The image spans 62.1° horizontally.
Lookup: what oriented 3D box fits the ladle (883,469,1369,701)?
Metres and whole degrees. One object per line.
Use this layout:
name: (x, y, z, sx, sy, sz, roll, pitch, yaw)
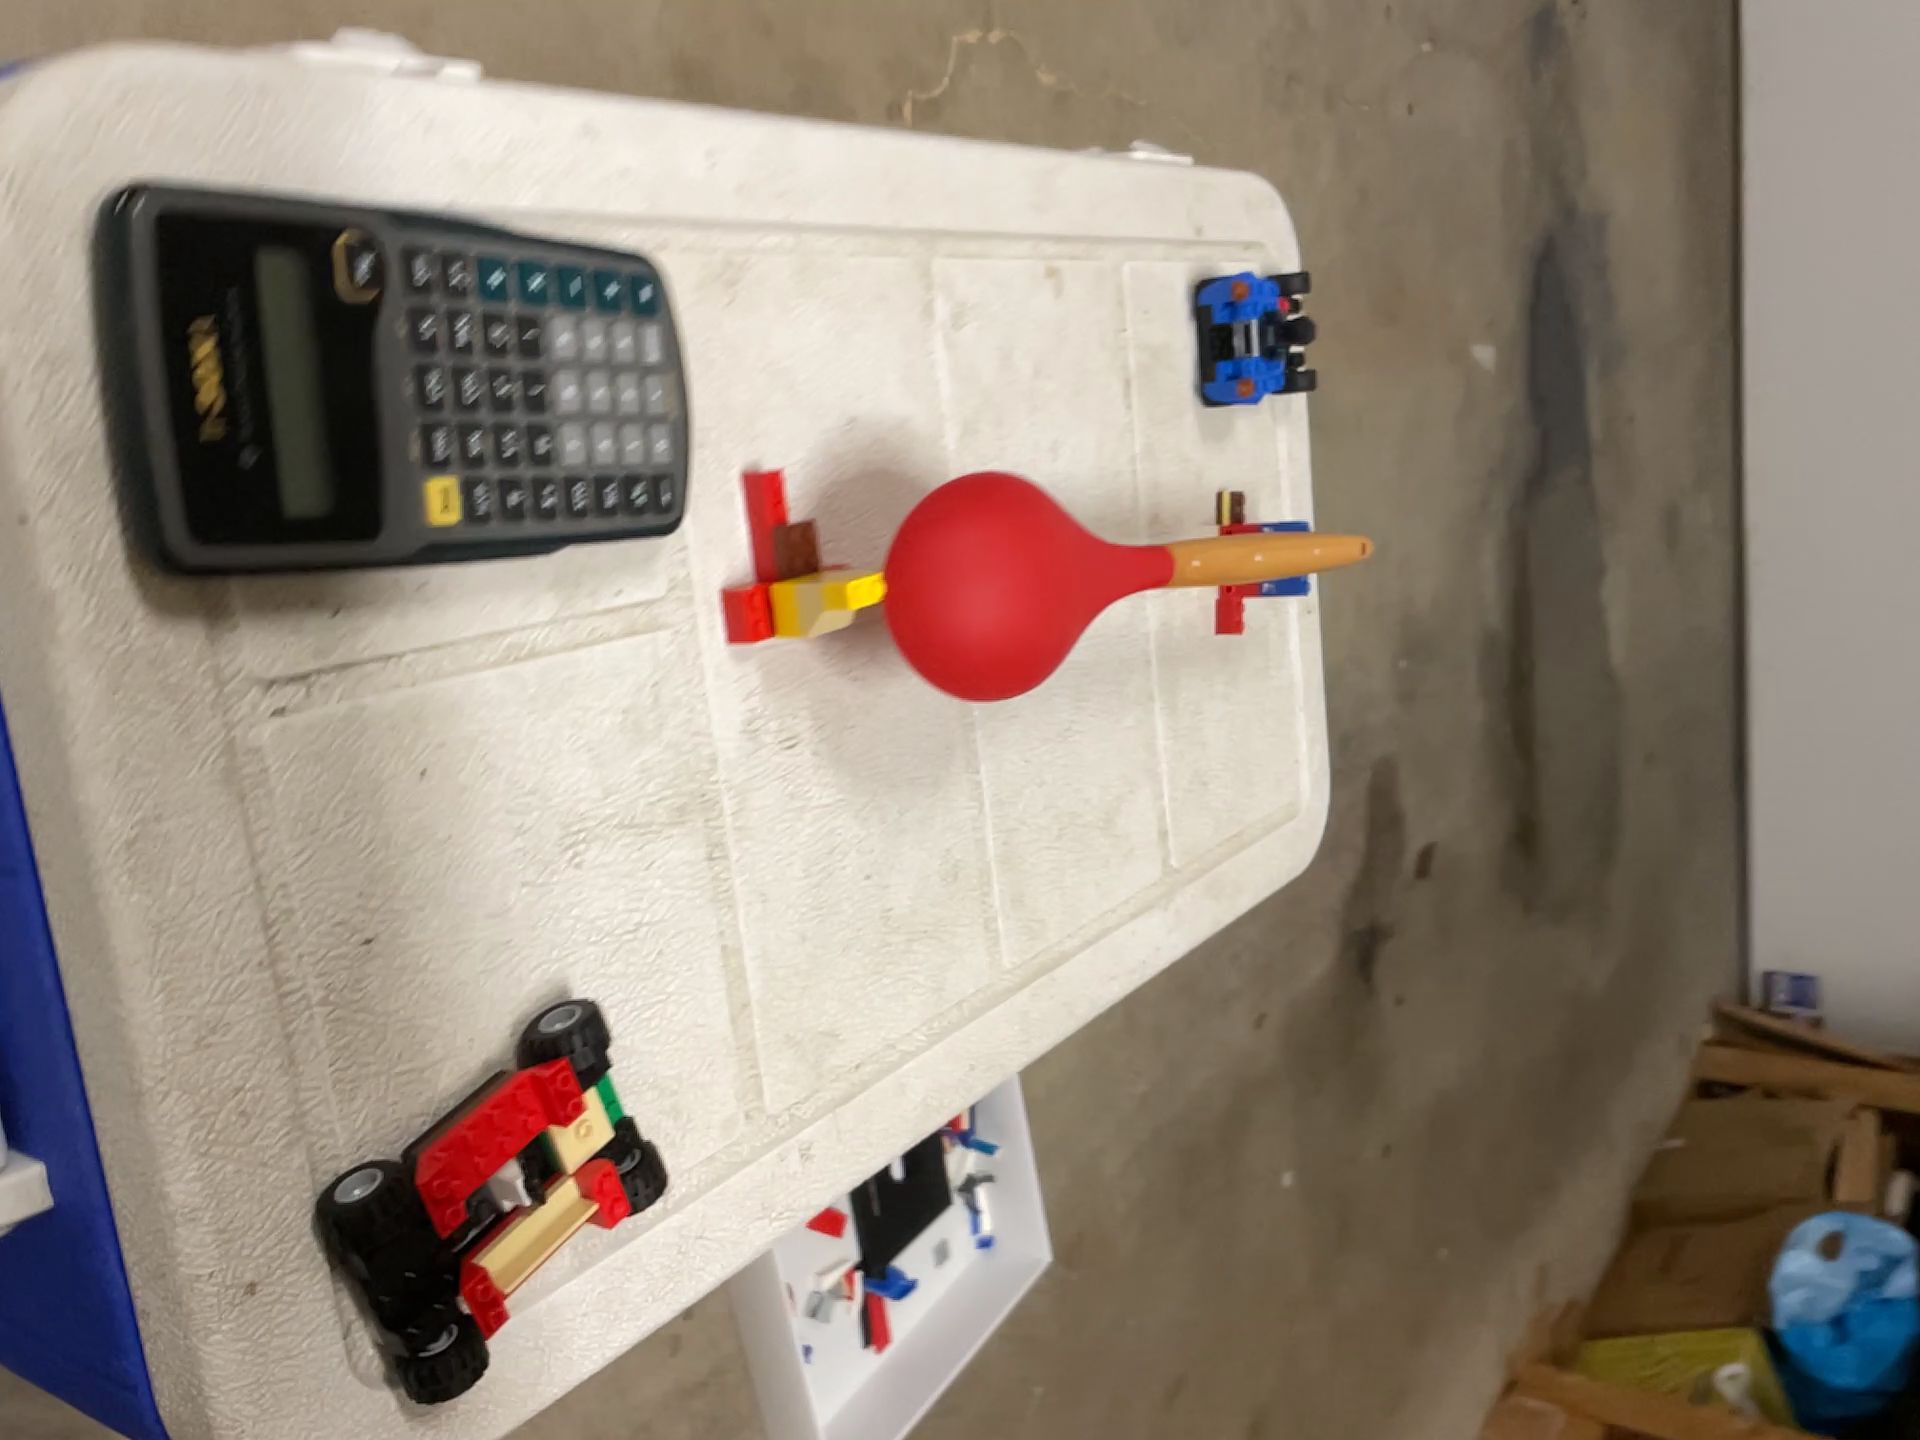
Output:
ladle: (0.082, -0.055, 0.573, 0.315, 0.031, 0.069, -11, 100, -53)
